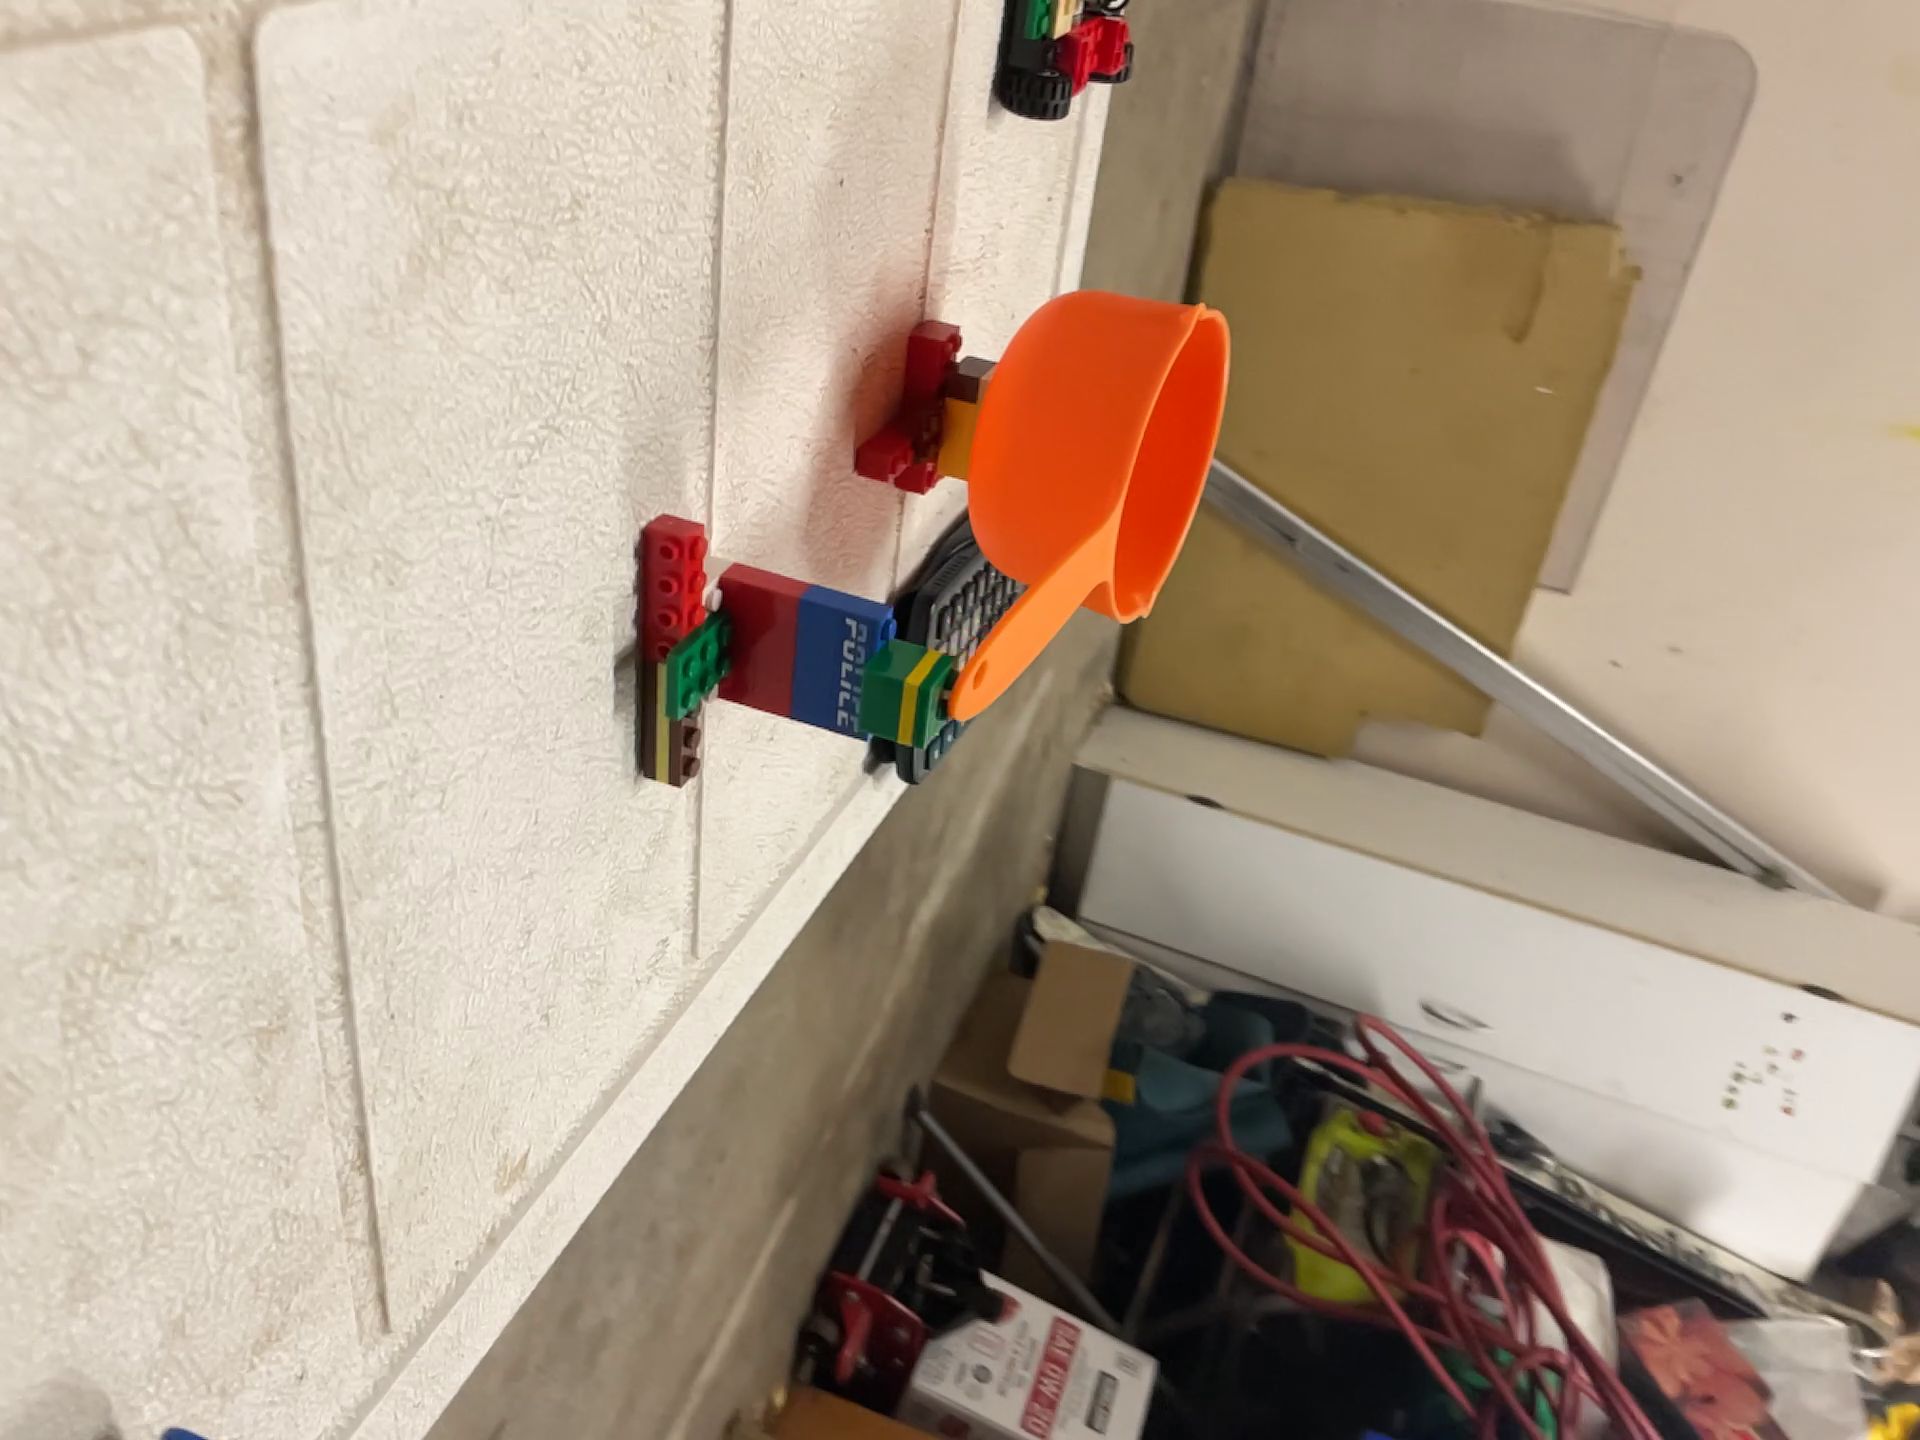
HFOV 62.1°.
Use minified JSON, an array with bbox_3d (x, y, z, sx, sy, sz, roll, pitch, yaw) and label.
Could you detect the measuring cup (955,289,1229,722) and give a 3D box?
[{"bbox_3d":[0.019,-0.054,0.416,0.174,0.052,0.095,-49,153,-47],"label":"measuring cup"}]
